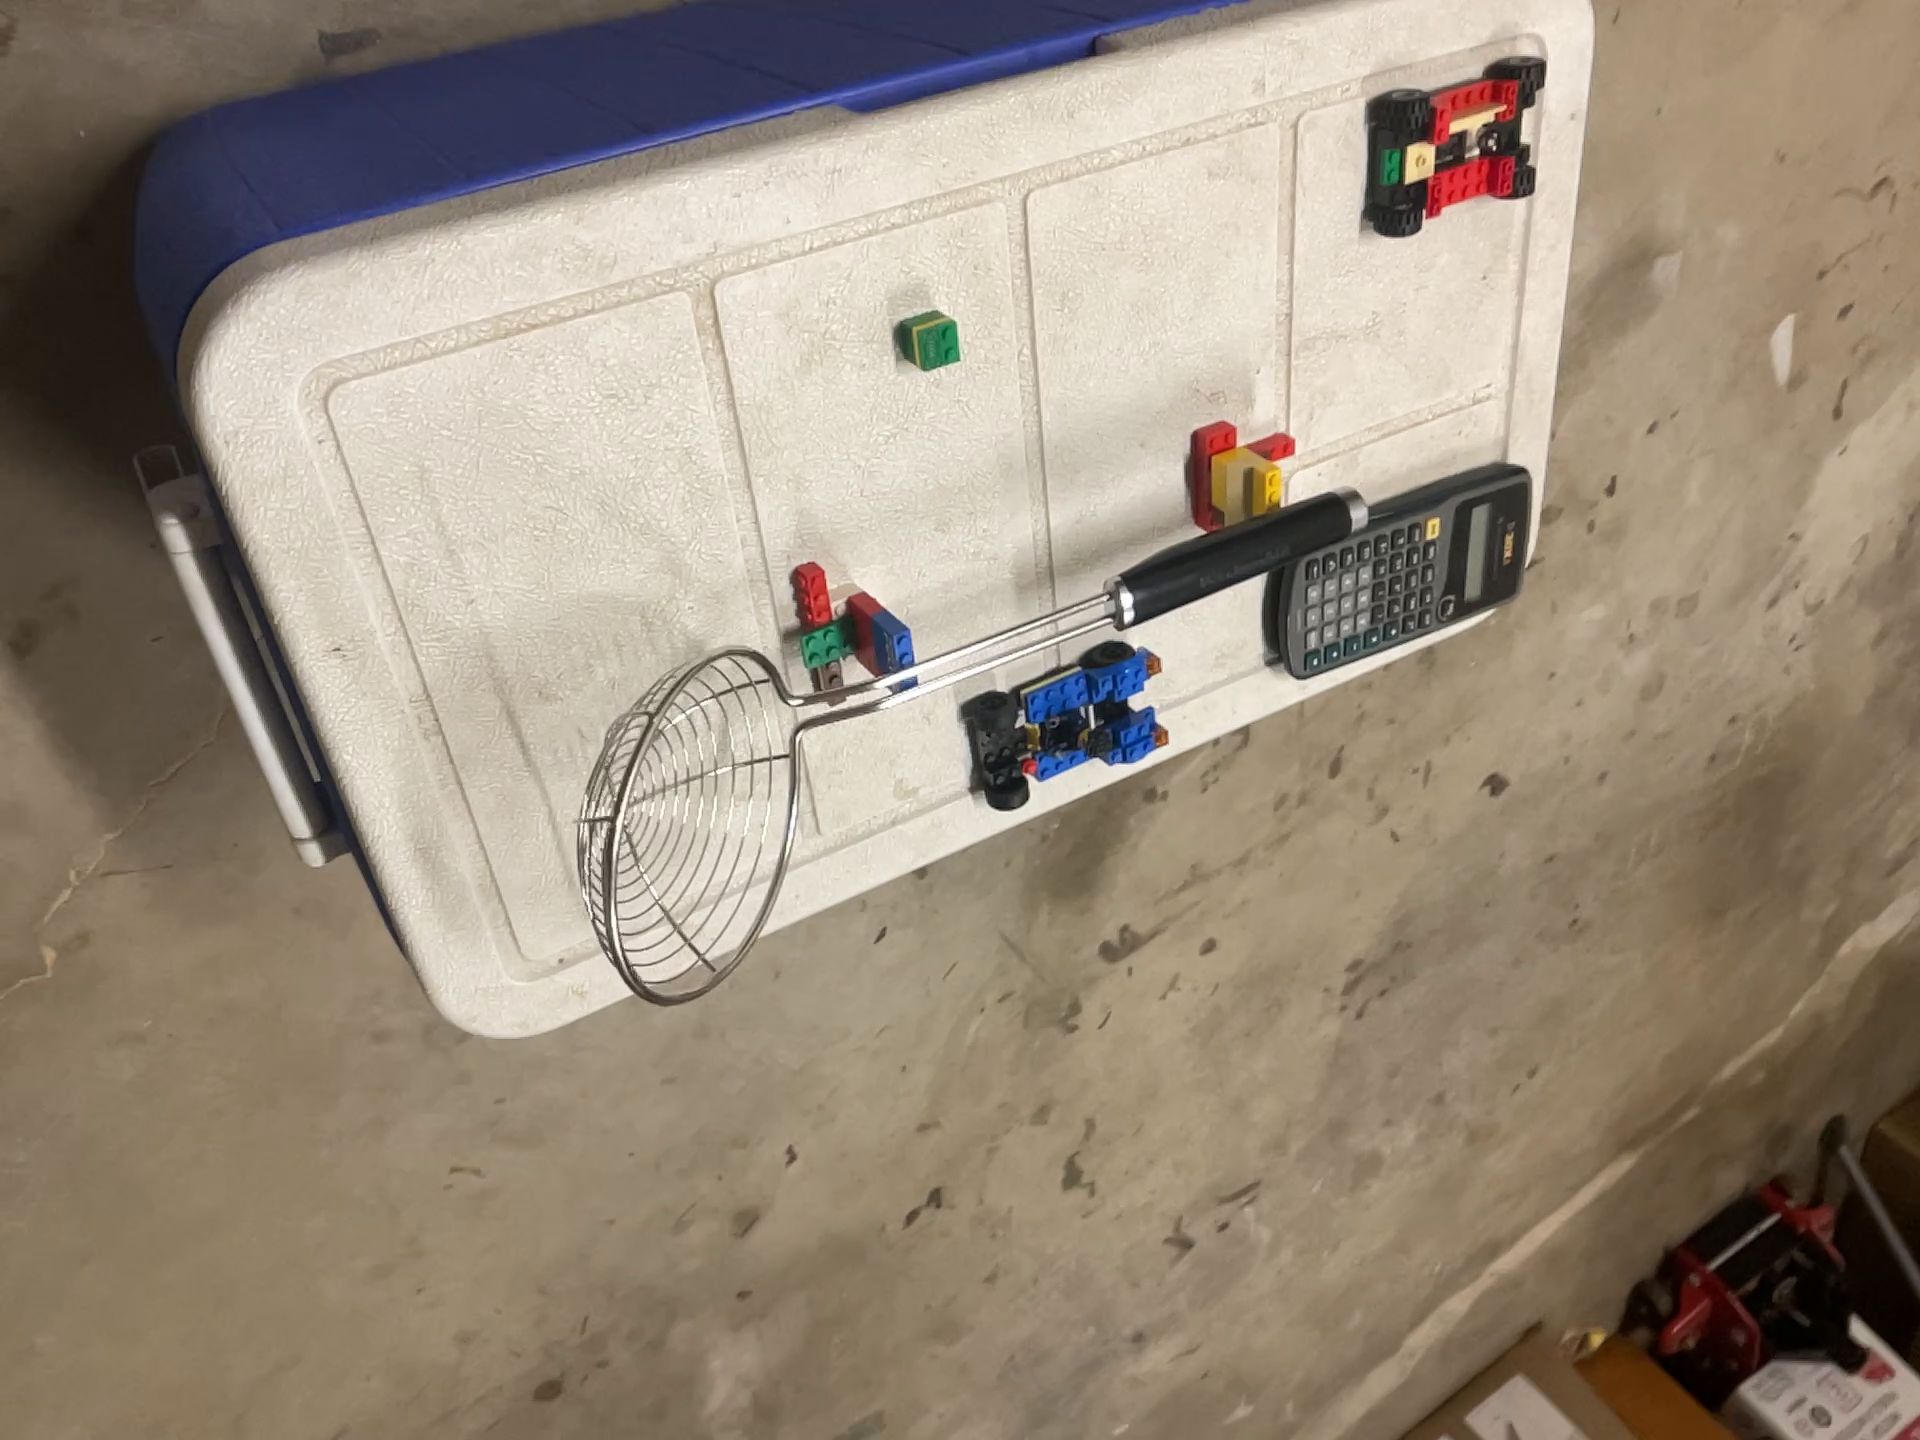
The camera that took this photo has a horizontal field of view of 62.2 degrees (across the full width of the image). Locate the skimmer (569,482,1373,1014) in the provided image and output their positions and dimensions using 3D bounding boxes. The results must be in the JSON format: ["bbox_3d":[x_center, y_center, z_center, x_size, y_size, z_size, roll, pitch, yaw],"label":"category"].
[{"bbox_3d":[0.025,-0.011,0.596,0.363,0.090,0.127,-22,130,-19],"label":"skimmer"}]
